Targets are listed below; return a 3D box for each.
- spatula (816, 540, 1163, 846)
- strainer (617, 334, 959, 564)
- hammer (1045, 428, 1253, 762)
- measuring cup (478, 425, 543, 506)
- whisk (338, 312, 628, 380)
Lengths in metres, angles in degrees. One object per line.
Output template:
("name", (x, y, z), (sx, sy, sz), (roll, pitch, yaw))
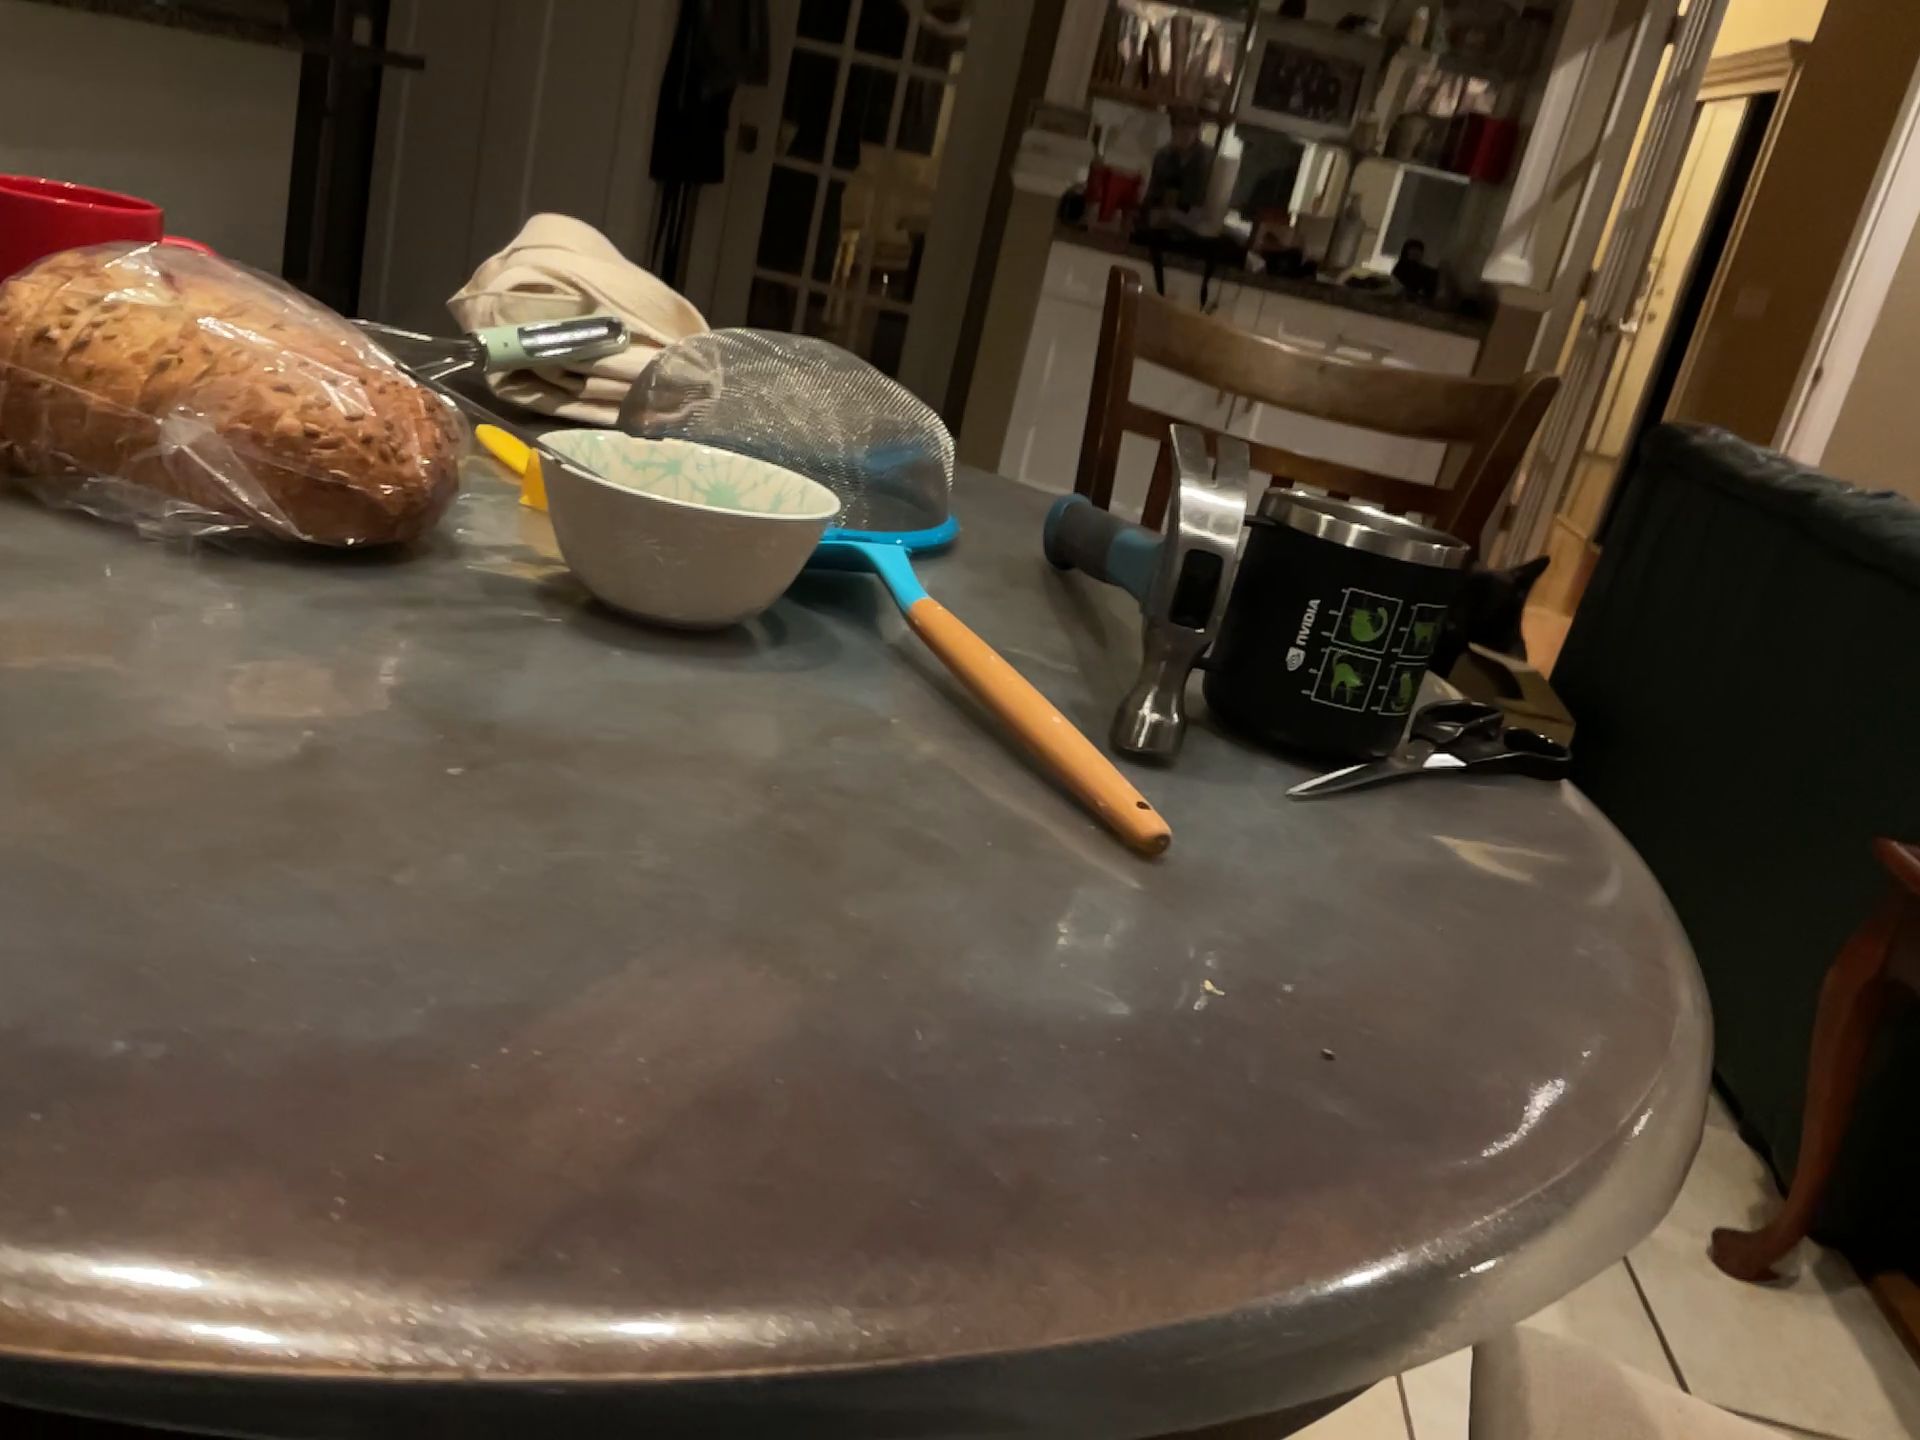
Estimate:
("spatula", (-0.007, -0.025, 0.663), (0.082, 0.044, 0.318), (4, 25, -31))
("strainer", (-0.069, -0.183, 0.958), (0.211, 0.095, 0.340), (21, 24, 17))
("hammer", (0.078, -0.076, 0.772), (0.033, 0.128, 0.331), (14, 9, -8))
("measuring cup", (-0.213, -0.140, 0.826), (0.062, 0.029, 0.156), (-2, 26, -40))
("whisk", (-0.278, -0.208, 0.903), (0.059, 0.058, 0.246), (-10, 11, 37))
